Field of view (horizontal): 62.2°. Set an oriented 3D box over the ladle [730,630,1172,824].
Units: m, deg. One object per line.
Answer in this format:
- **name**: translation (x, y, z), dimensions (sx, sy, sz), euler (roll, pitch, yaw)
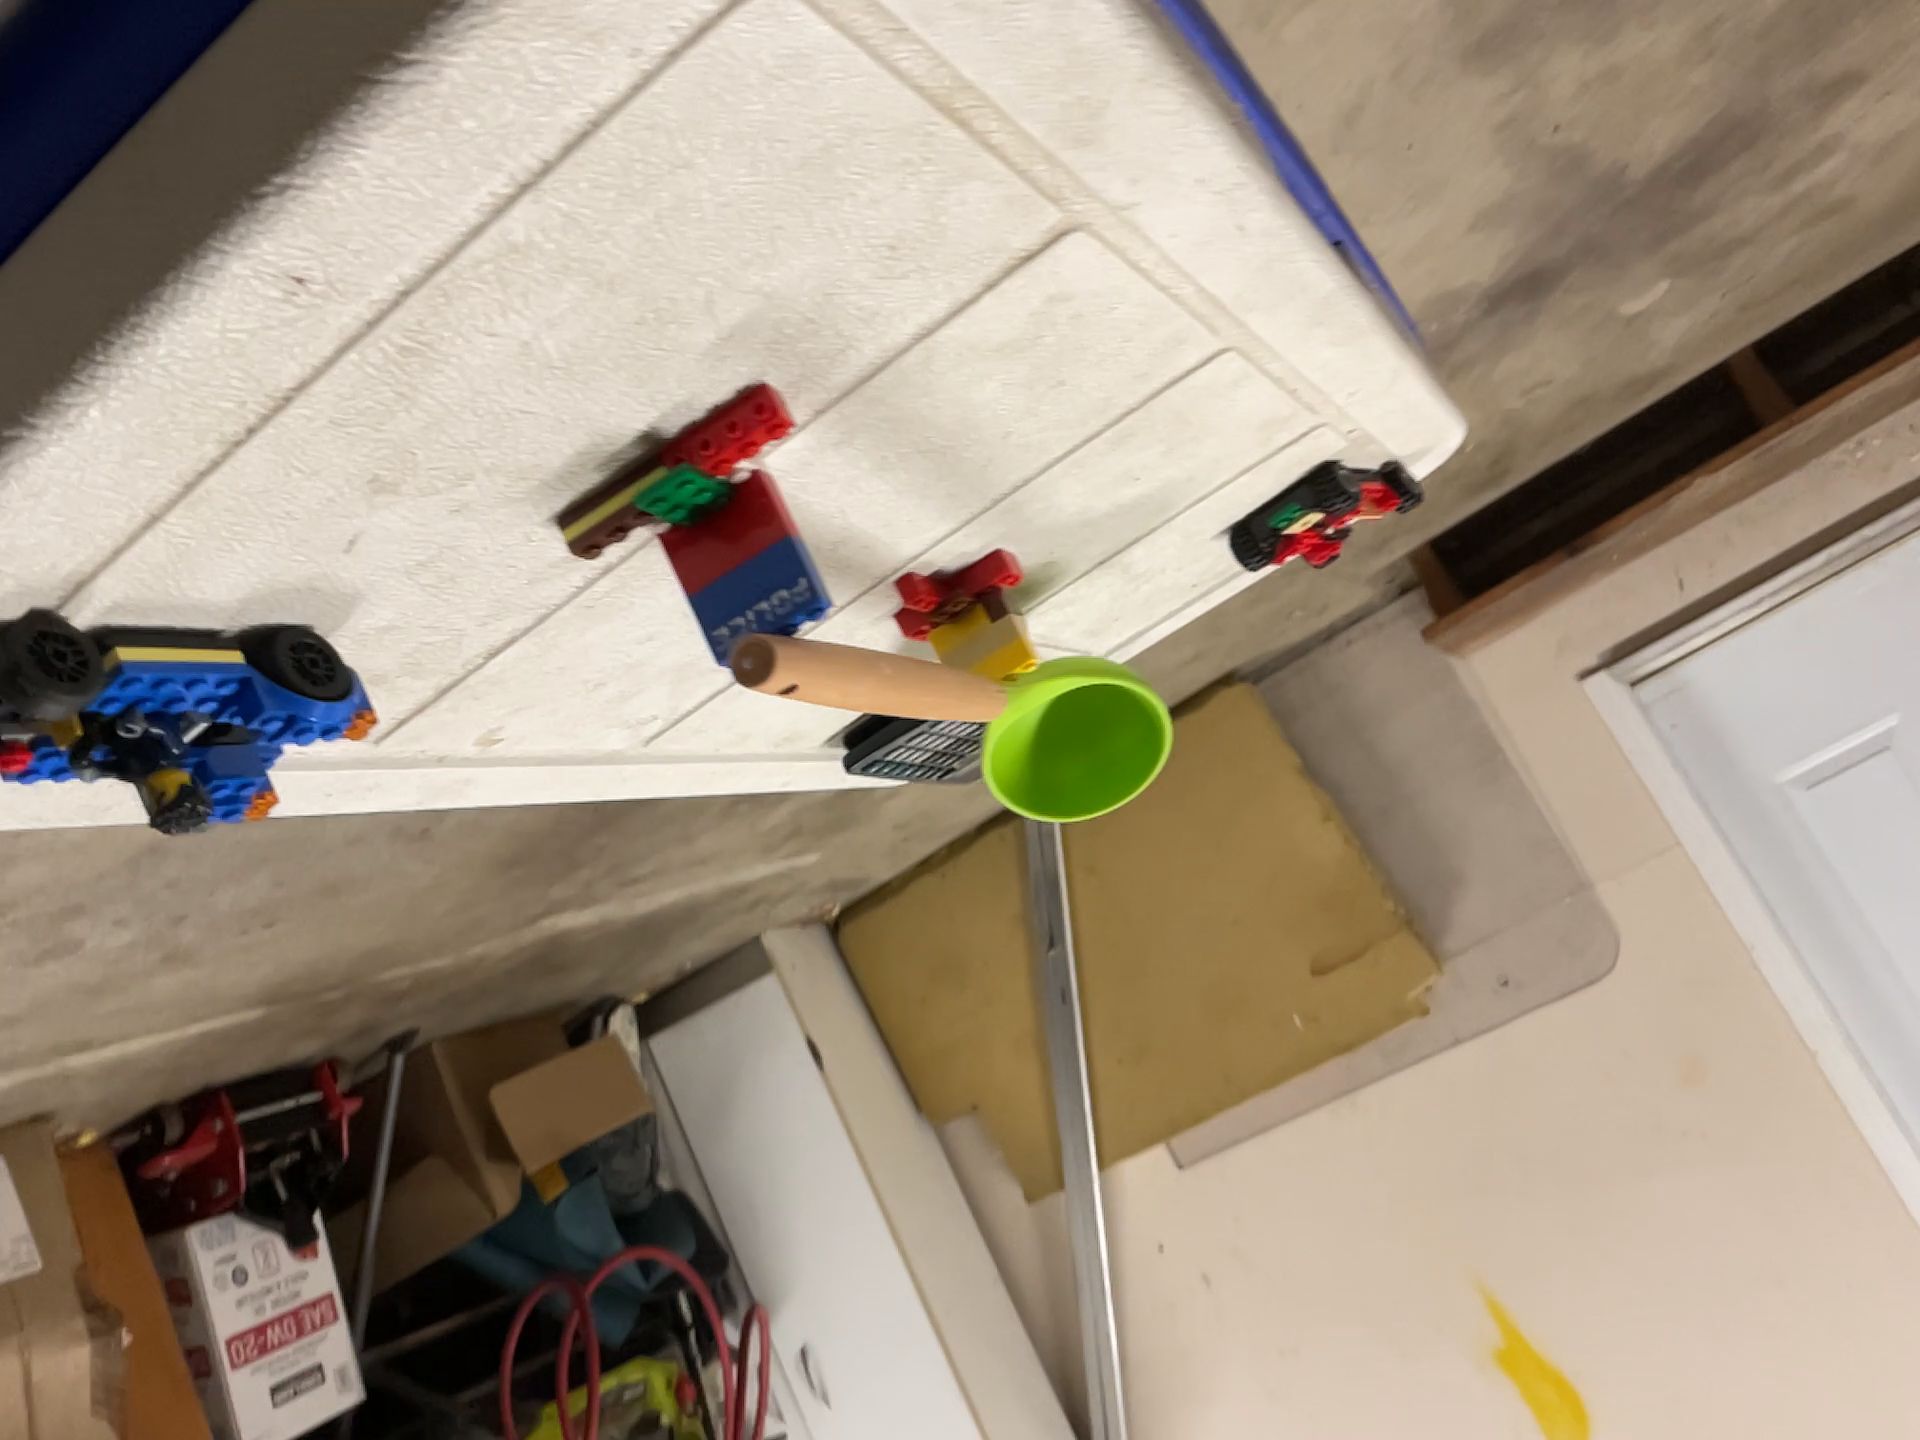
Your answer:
- **ladle**: translation (0.007, 0.002, 0.524), dimensions (0.078, 0.062, 0.320), euler (-30, 169, 15)
